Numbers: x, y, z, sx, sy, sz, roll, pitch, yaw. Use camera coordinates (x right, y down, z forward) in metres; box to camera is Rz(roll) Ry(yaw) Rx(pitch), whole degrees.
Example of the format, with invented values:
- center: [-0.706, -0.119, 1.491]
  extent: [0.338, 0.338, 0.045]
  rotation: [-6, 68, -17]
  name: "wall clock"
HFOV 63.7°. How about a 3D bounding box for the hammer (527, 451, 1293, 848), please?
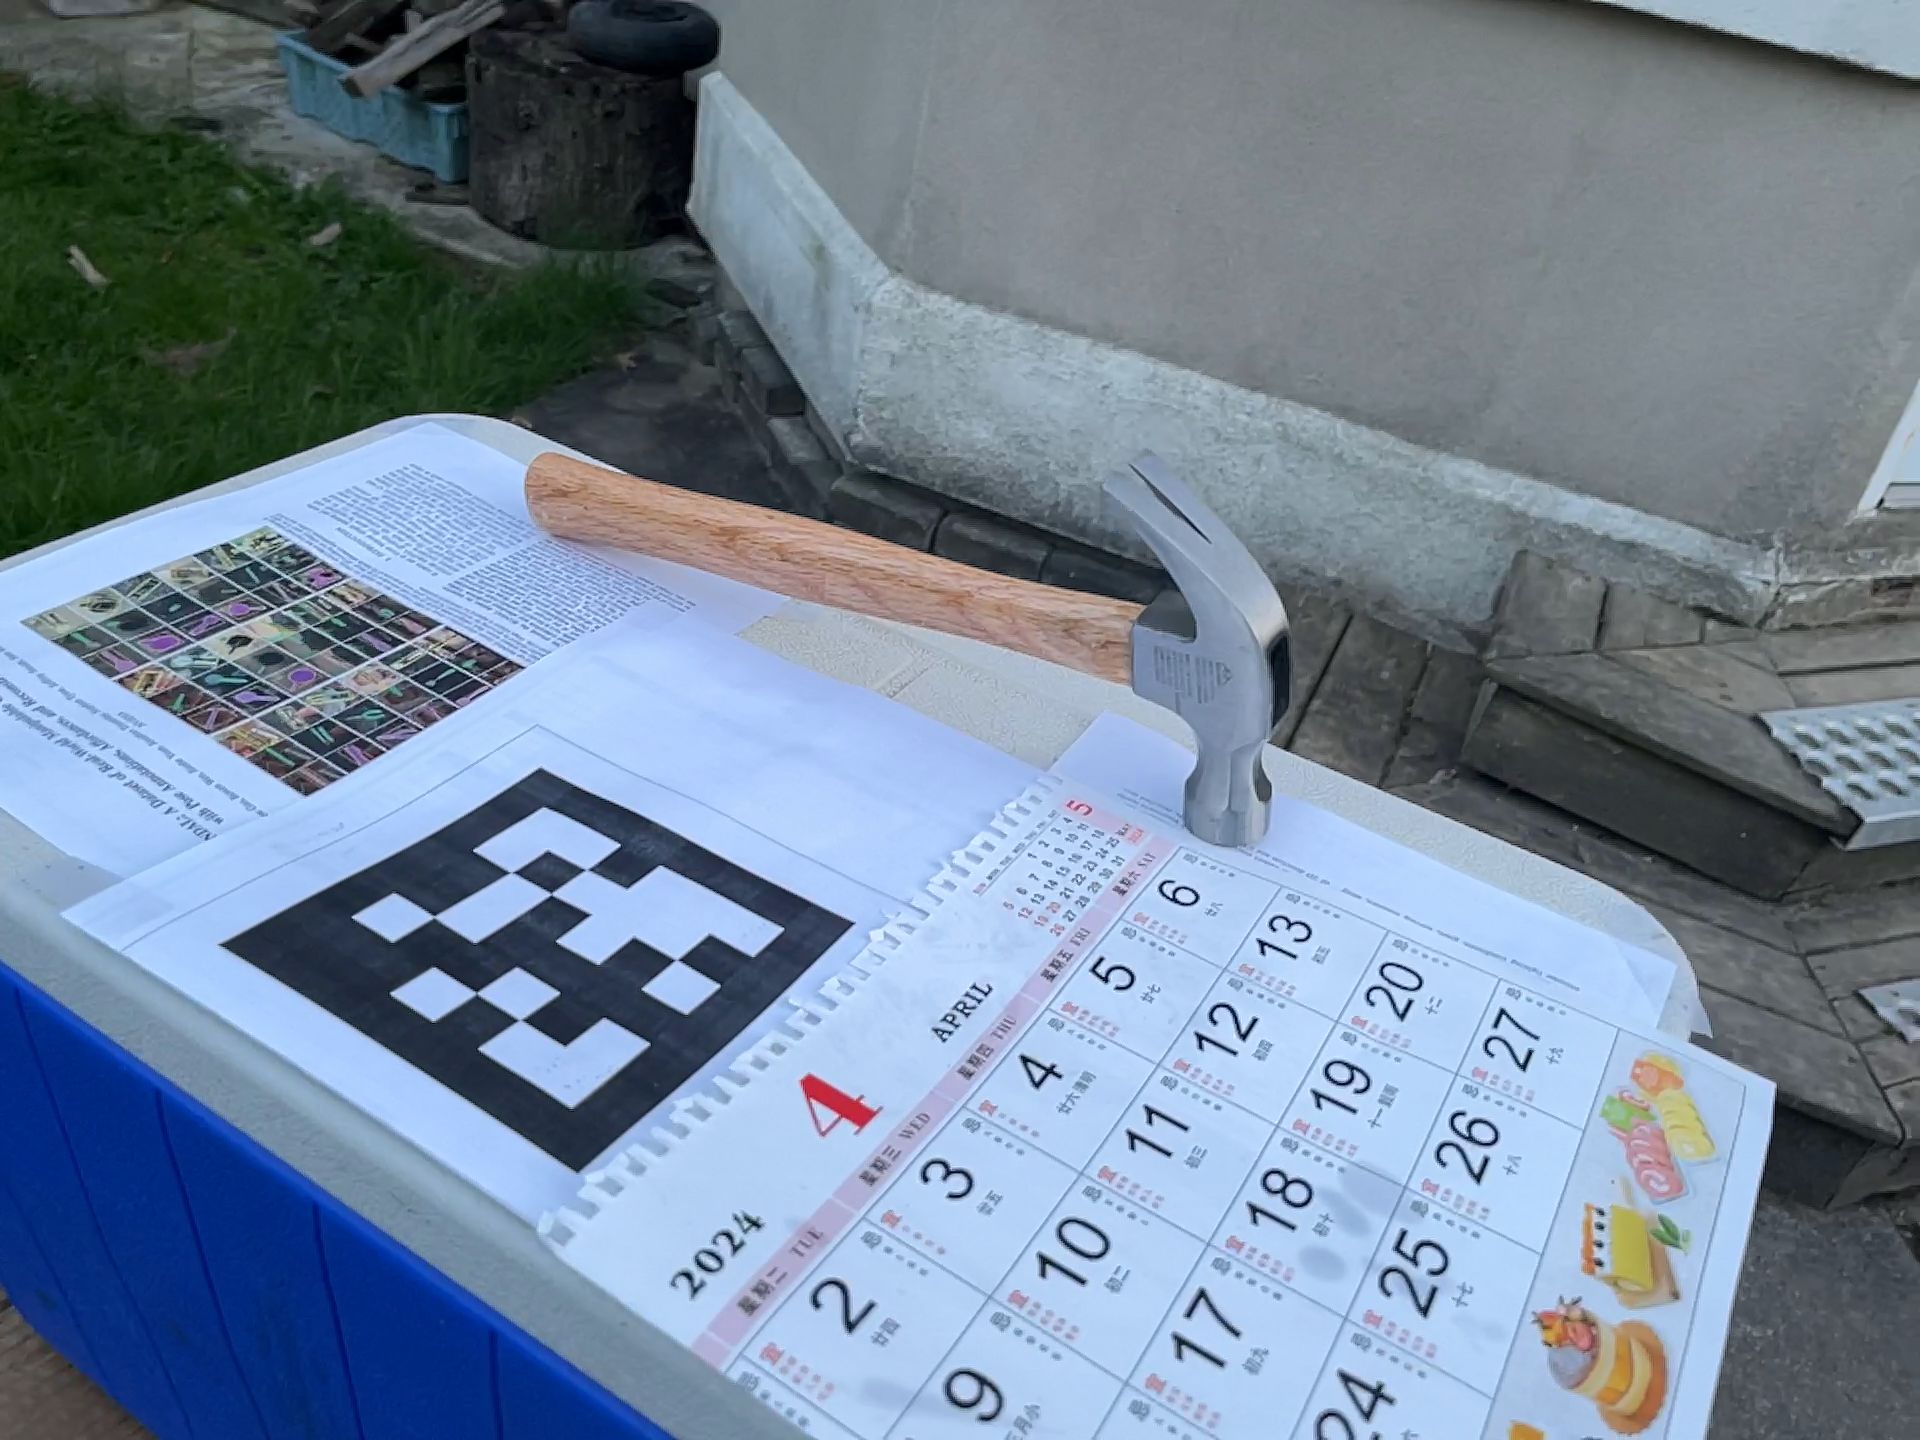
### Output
- center: [-0.035, -0.055, 0.583]
  extent: [0.331, 0.130, 0.031]
  rotation: [17, 39, 27]
  name: "hammer"
